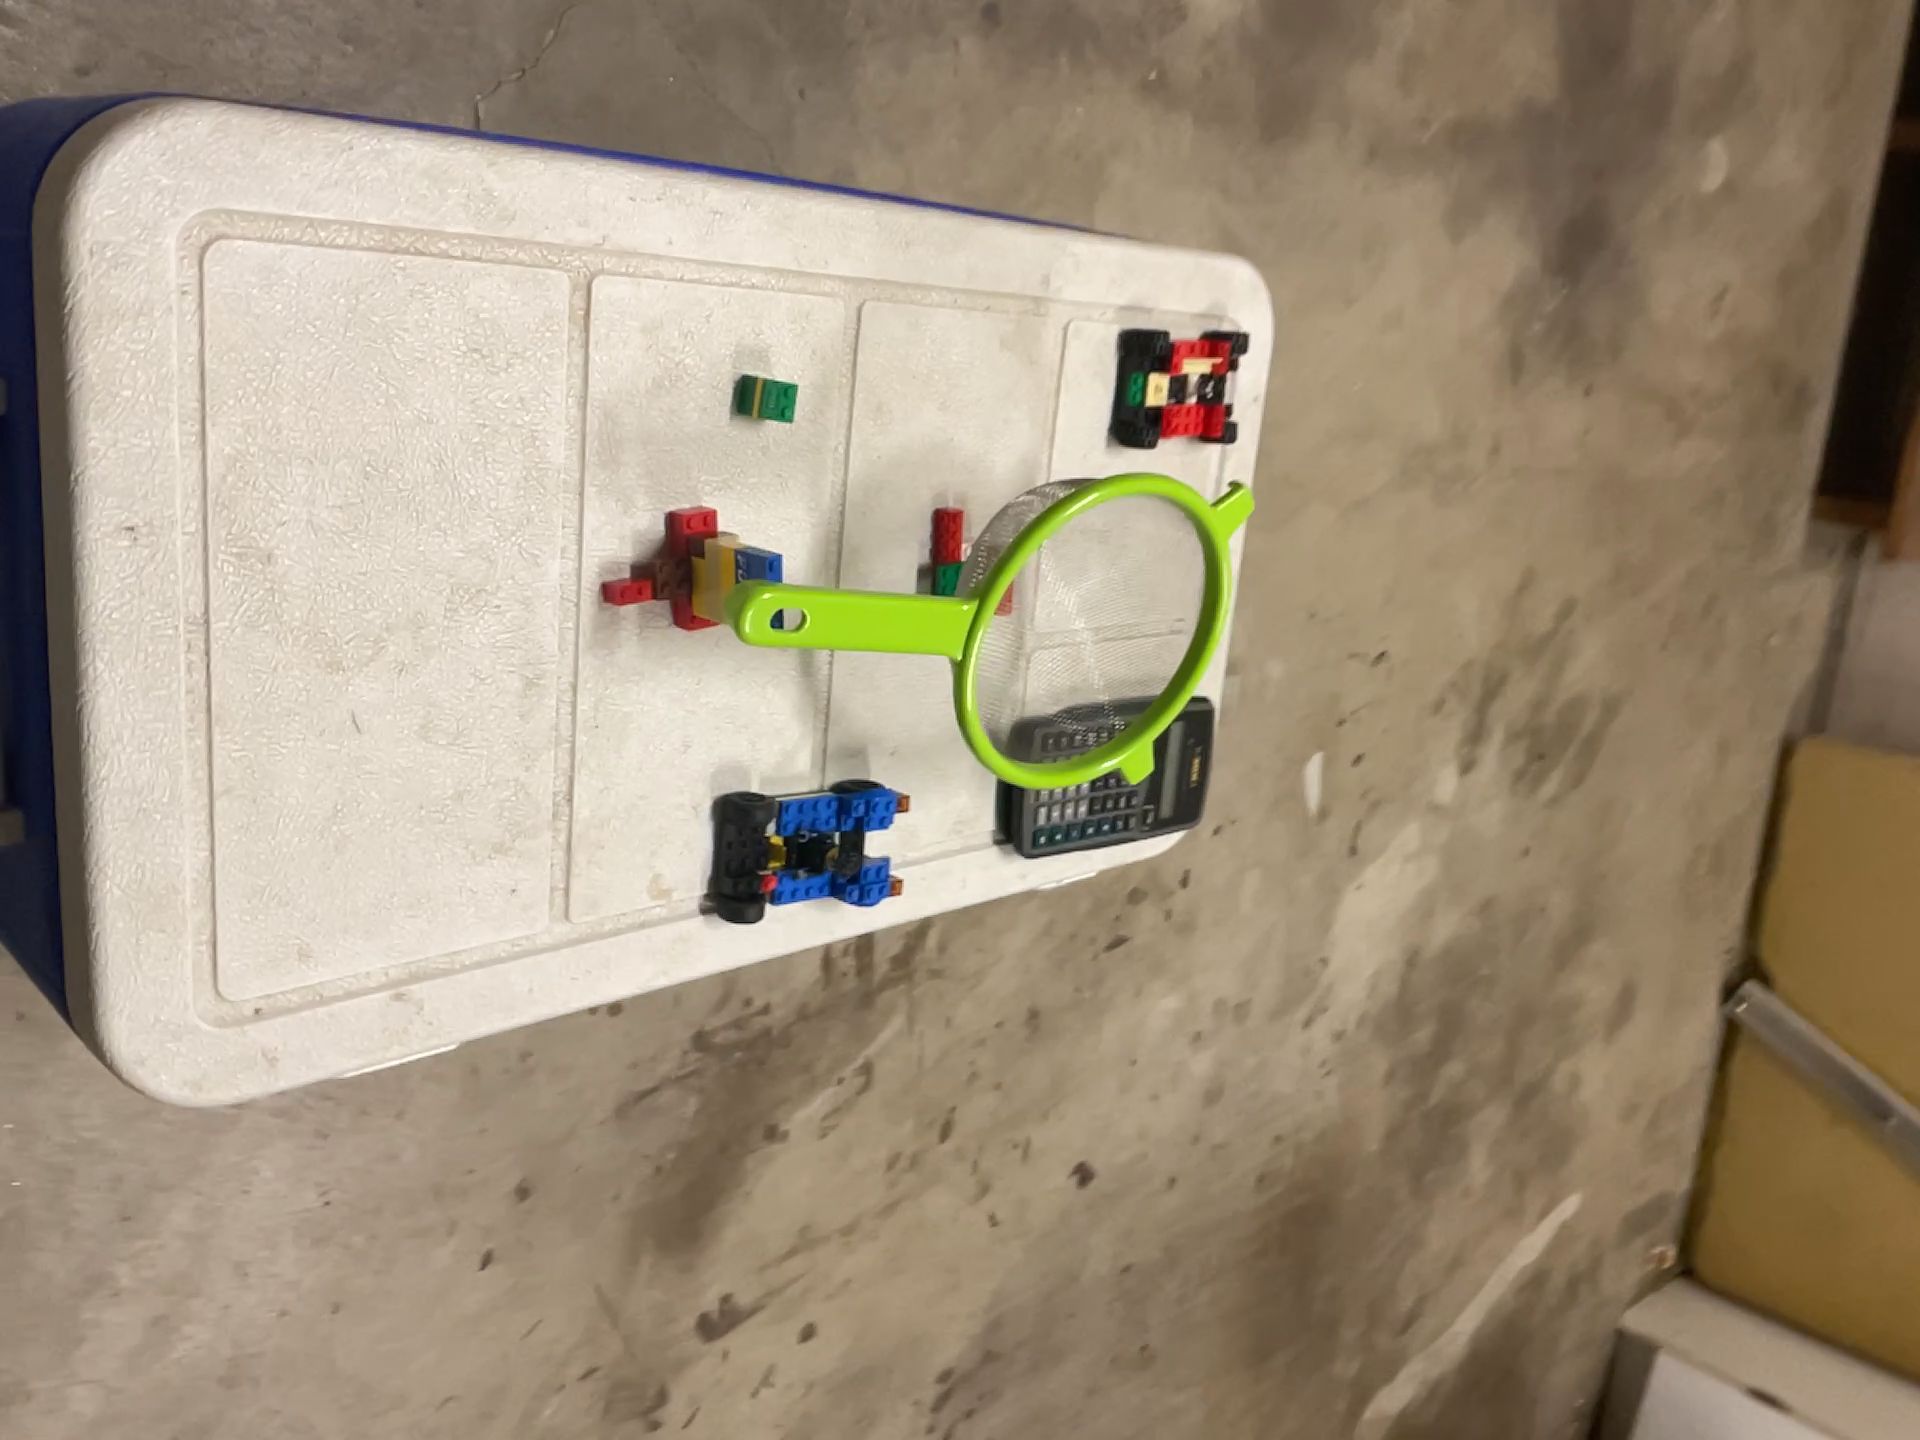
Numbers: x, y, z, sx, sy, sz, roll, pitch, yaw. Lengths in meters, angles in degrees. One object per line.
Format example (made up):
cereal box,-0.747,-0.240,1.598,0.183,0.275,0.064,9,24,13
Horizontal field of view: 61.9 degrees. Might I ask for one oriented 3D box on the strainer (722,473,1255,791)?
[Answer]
strainer,0.003,-0.049,0.685,0.256,0.069,0.151,1,117,-38
